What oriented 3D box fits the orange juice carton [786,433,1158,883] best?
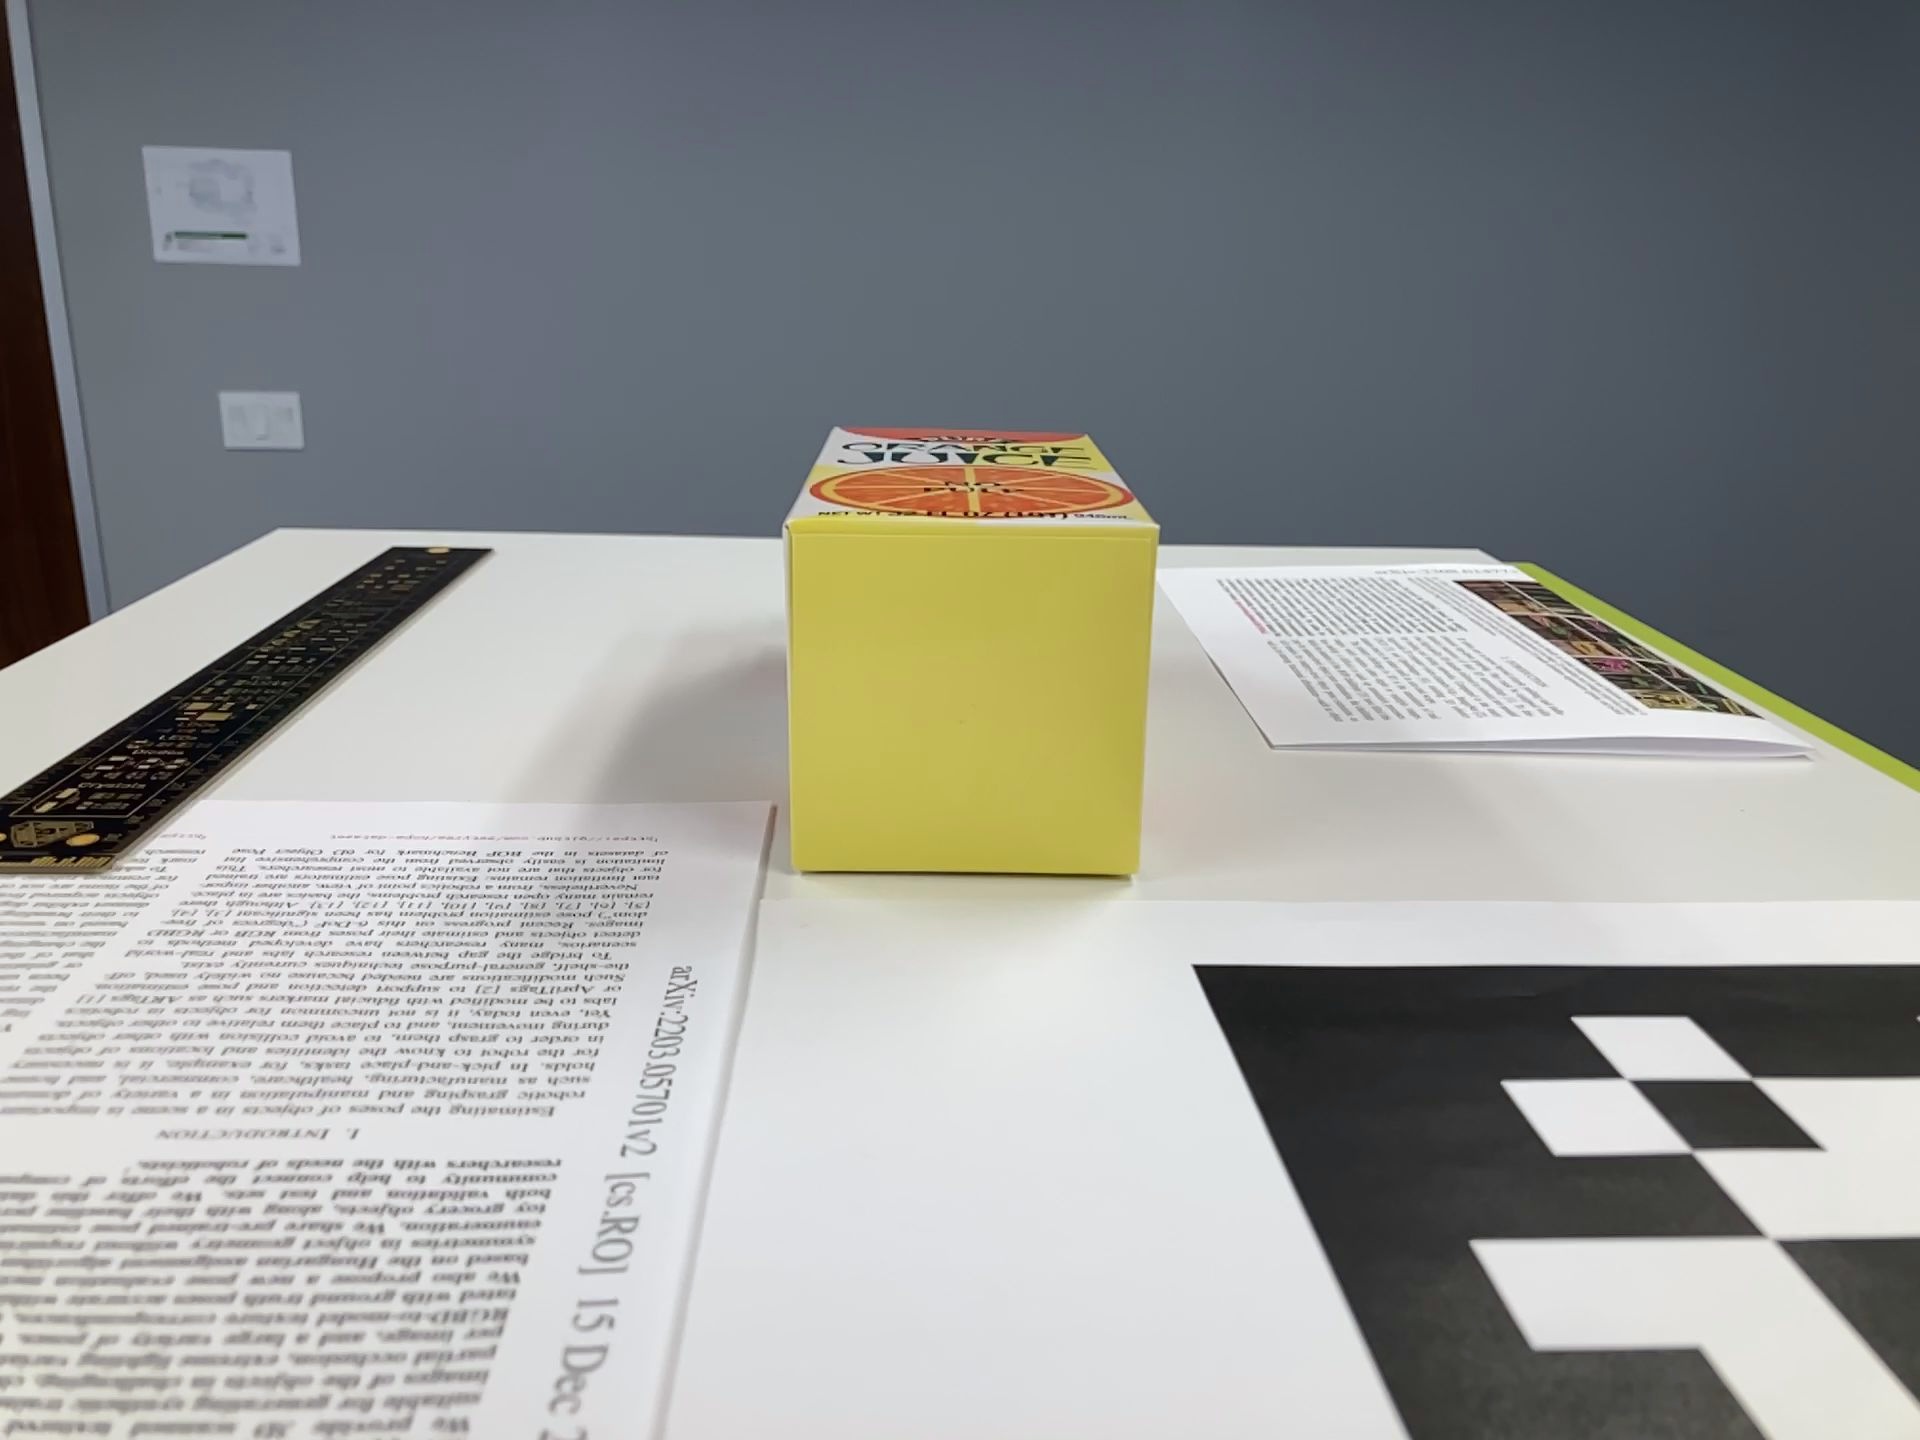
[{"bbox_3d":[0.001,-0.029,0.398,0.072,0.073,0.192,1,17,-1],"label":"orange juice carton"}]
